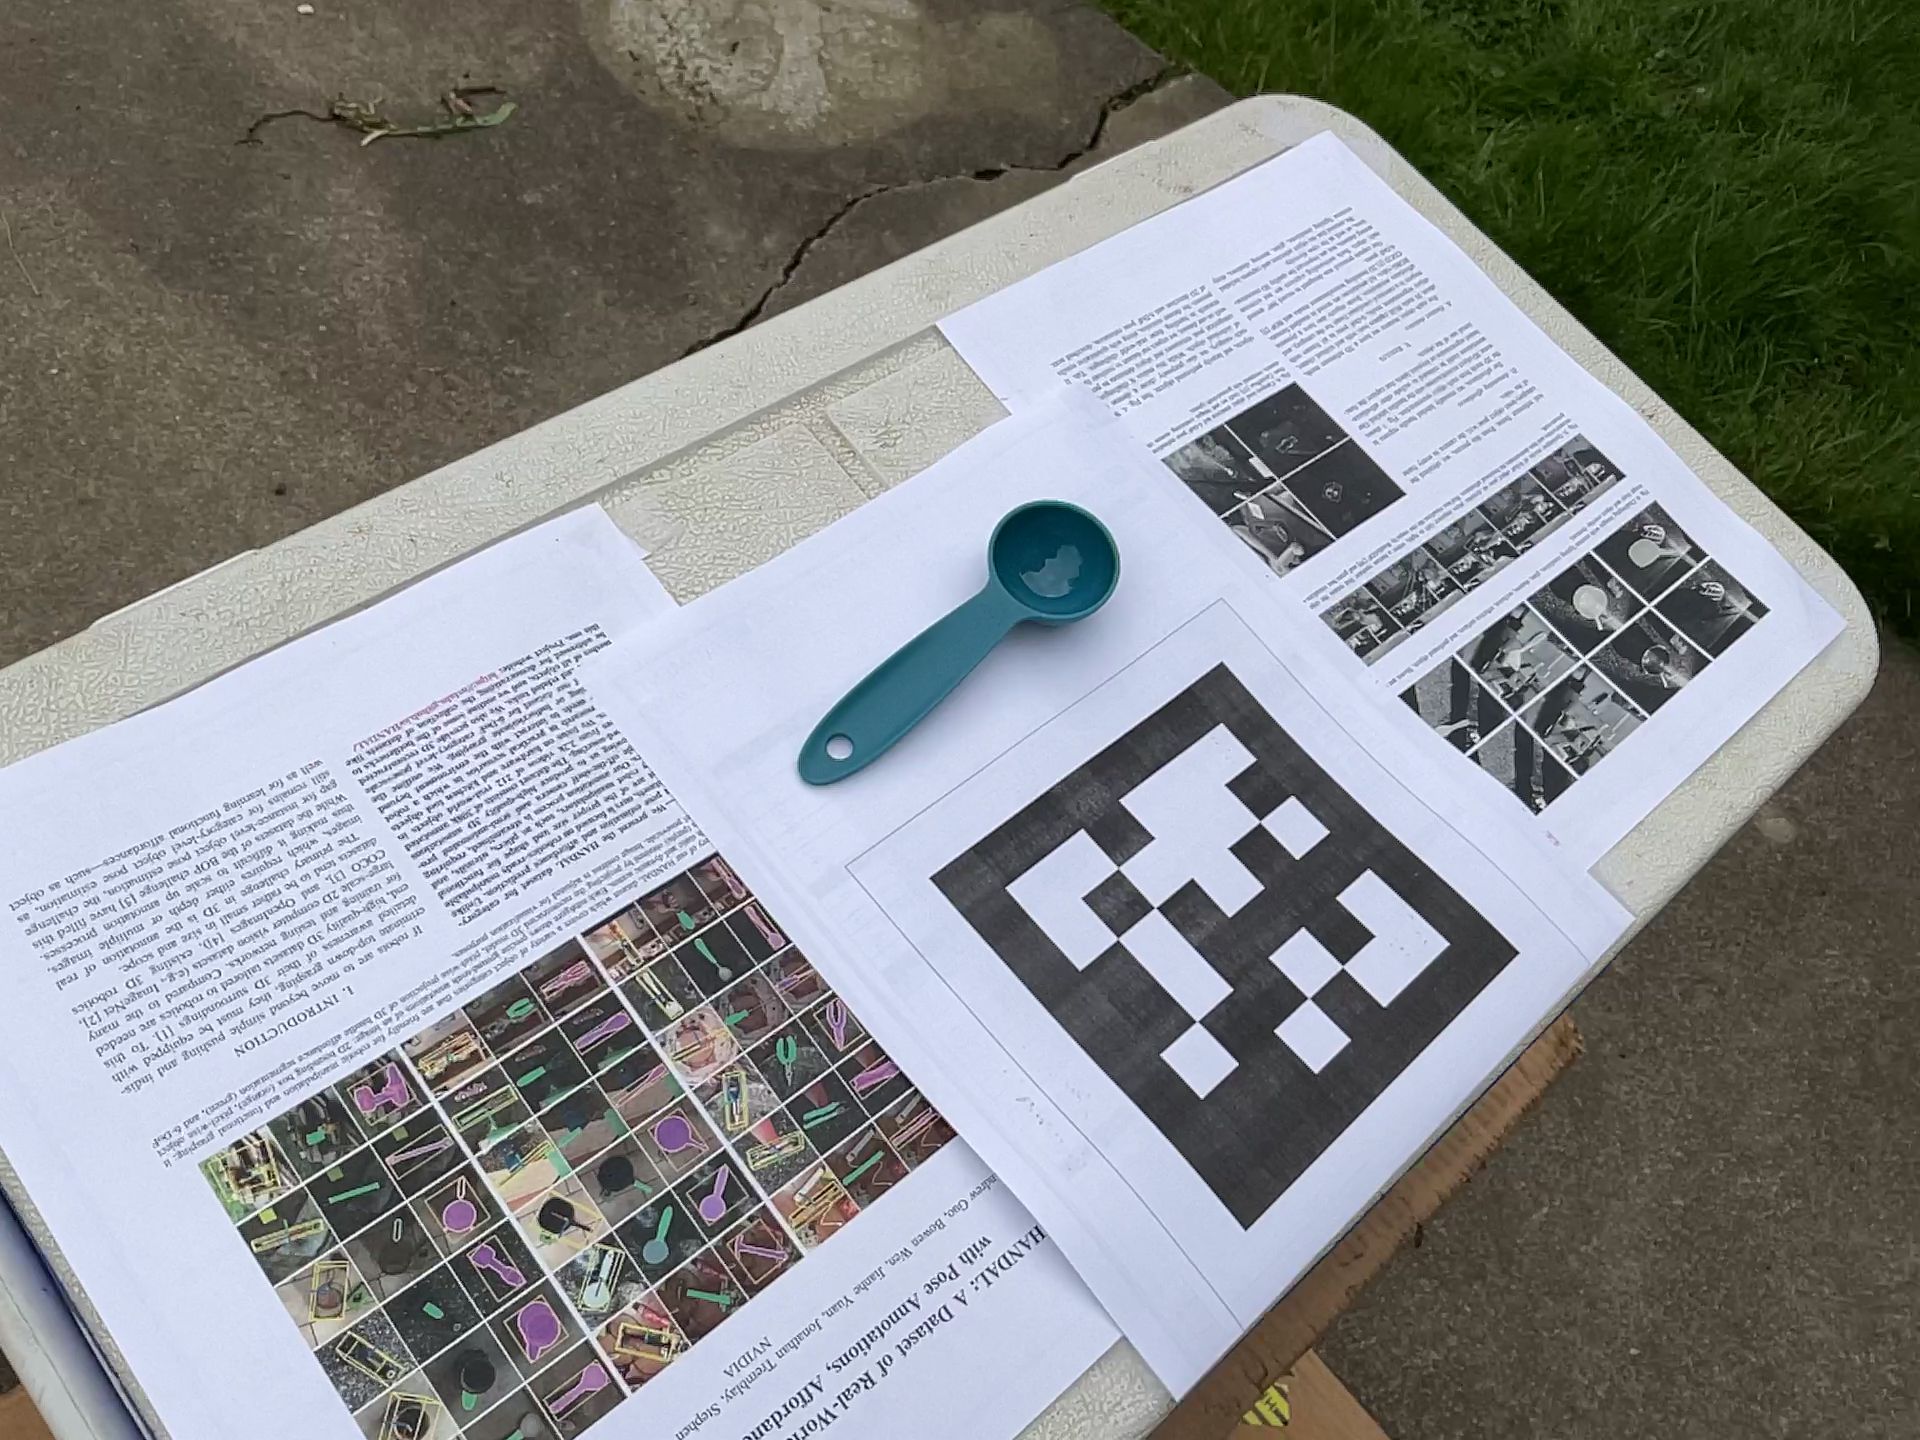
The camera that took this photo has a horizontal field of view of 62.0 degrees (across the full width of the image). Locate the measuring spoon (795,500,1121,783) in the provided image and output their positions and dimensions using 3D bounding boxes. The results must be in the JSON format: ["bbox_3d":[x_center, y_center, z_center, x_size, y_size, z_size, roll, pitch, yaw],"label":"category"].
[{"bbox_3d":[-0.002,-0.020,0.494,0.129,0.021,0.042,-41,78,-20],"label":"measuring spoon"}]
